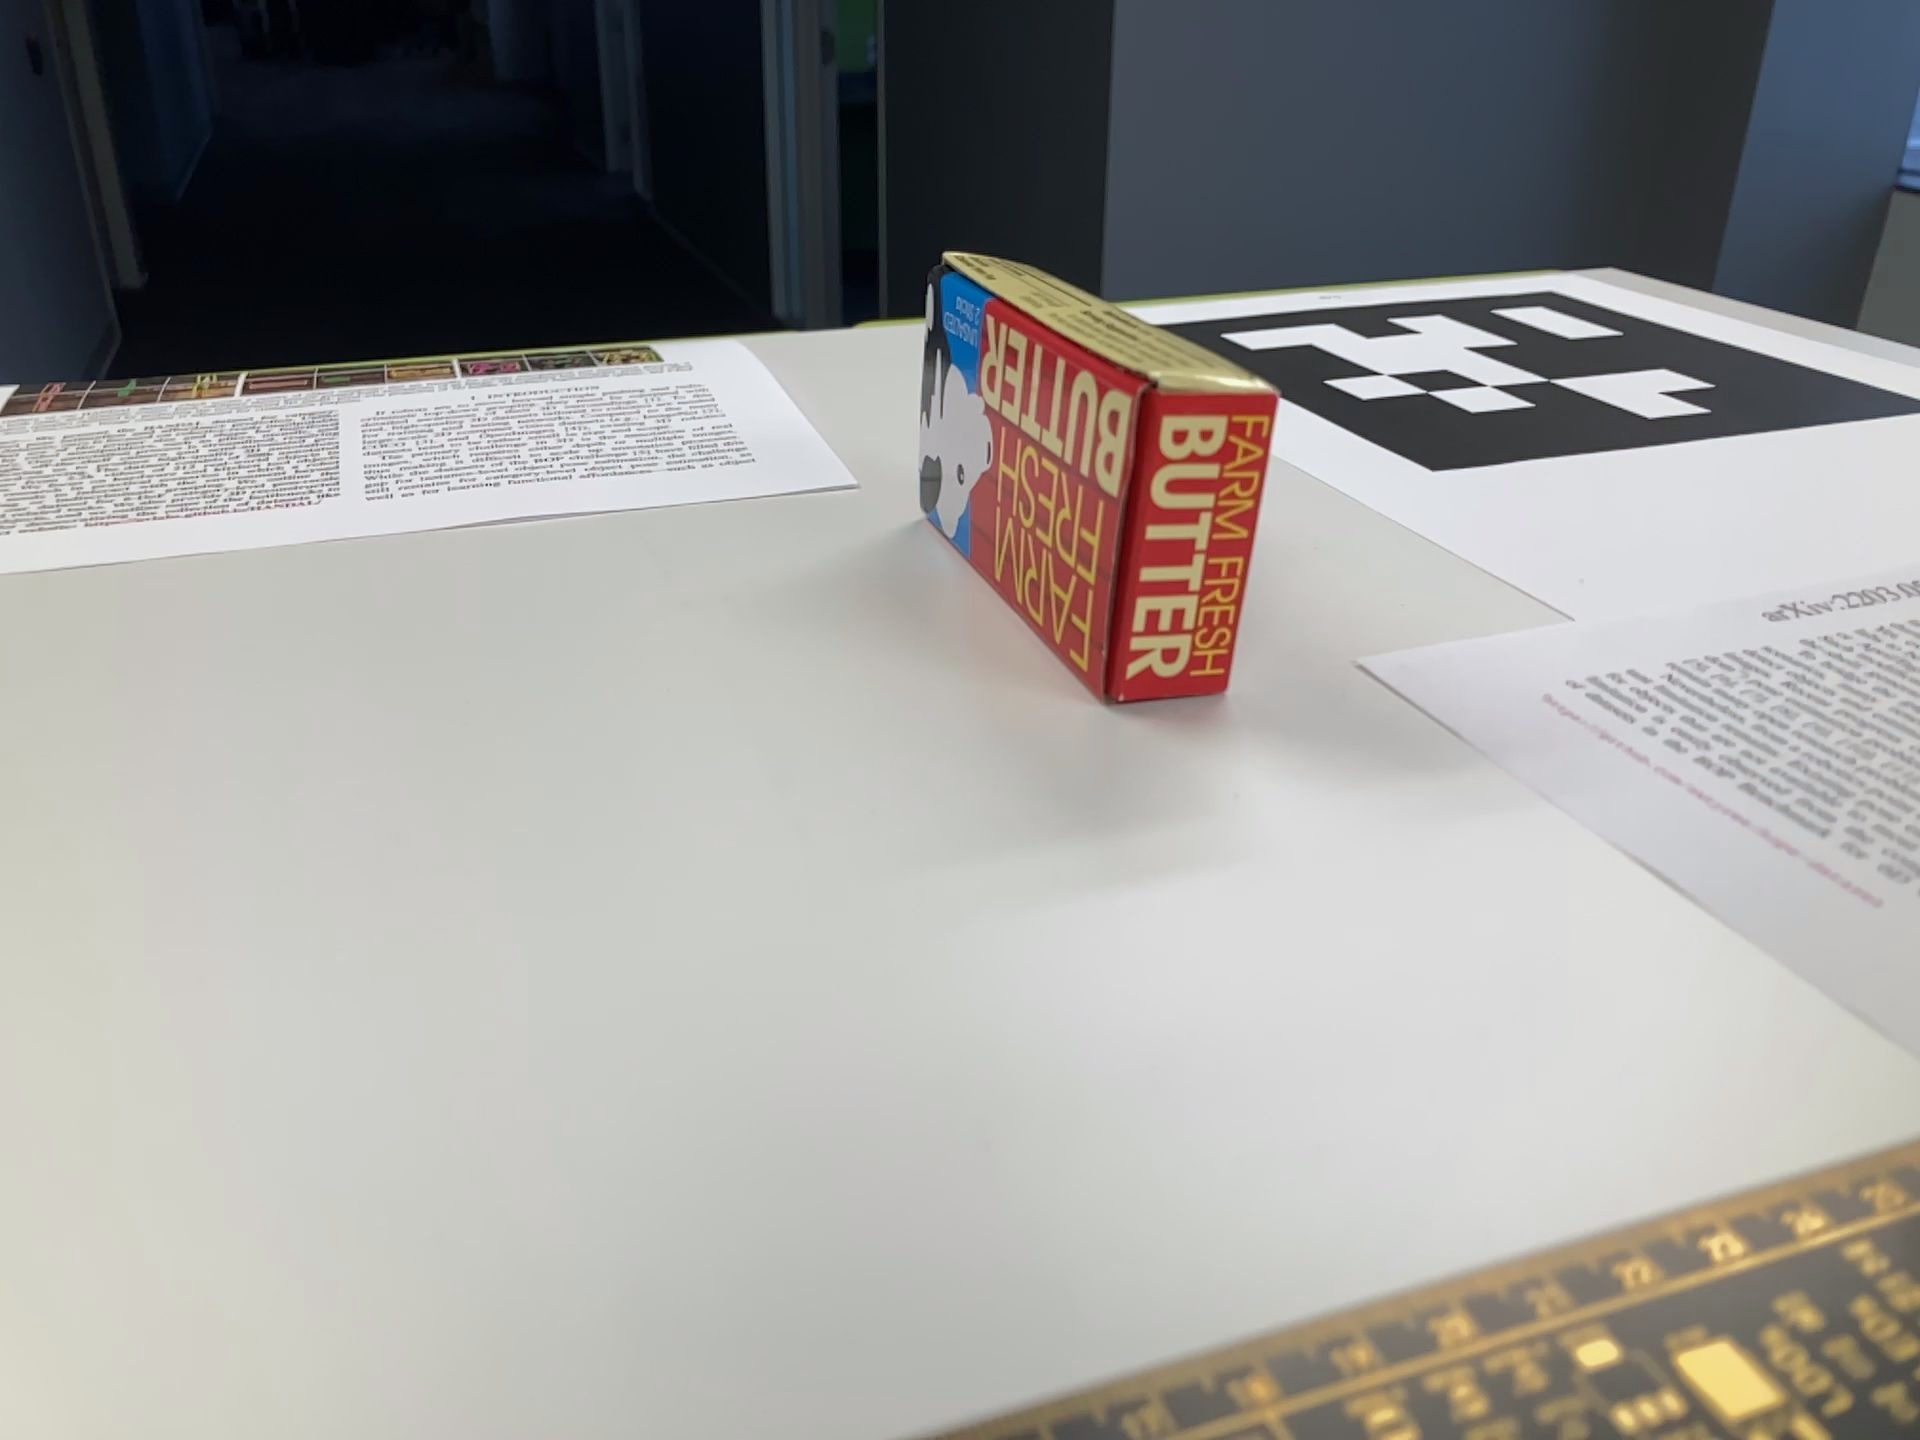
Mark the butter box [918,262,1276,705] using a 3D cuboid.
[{"bbox_3d":[0.019,-0.047,0.287,0.024,0.053,0.103,-6,27,-19],"label":"butter box"}]
